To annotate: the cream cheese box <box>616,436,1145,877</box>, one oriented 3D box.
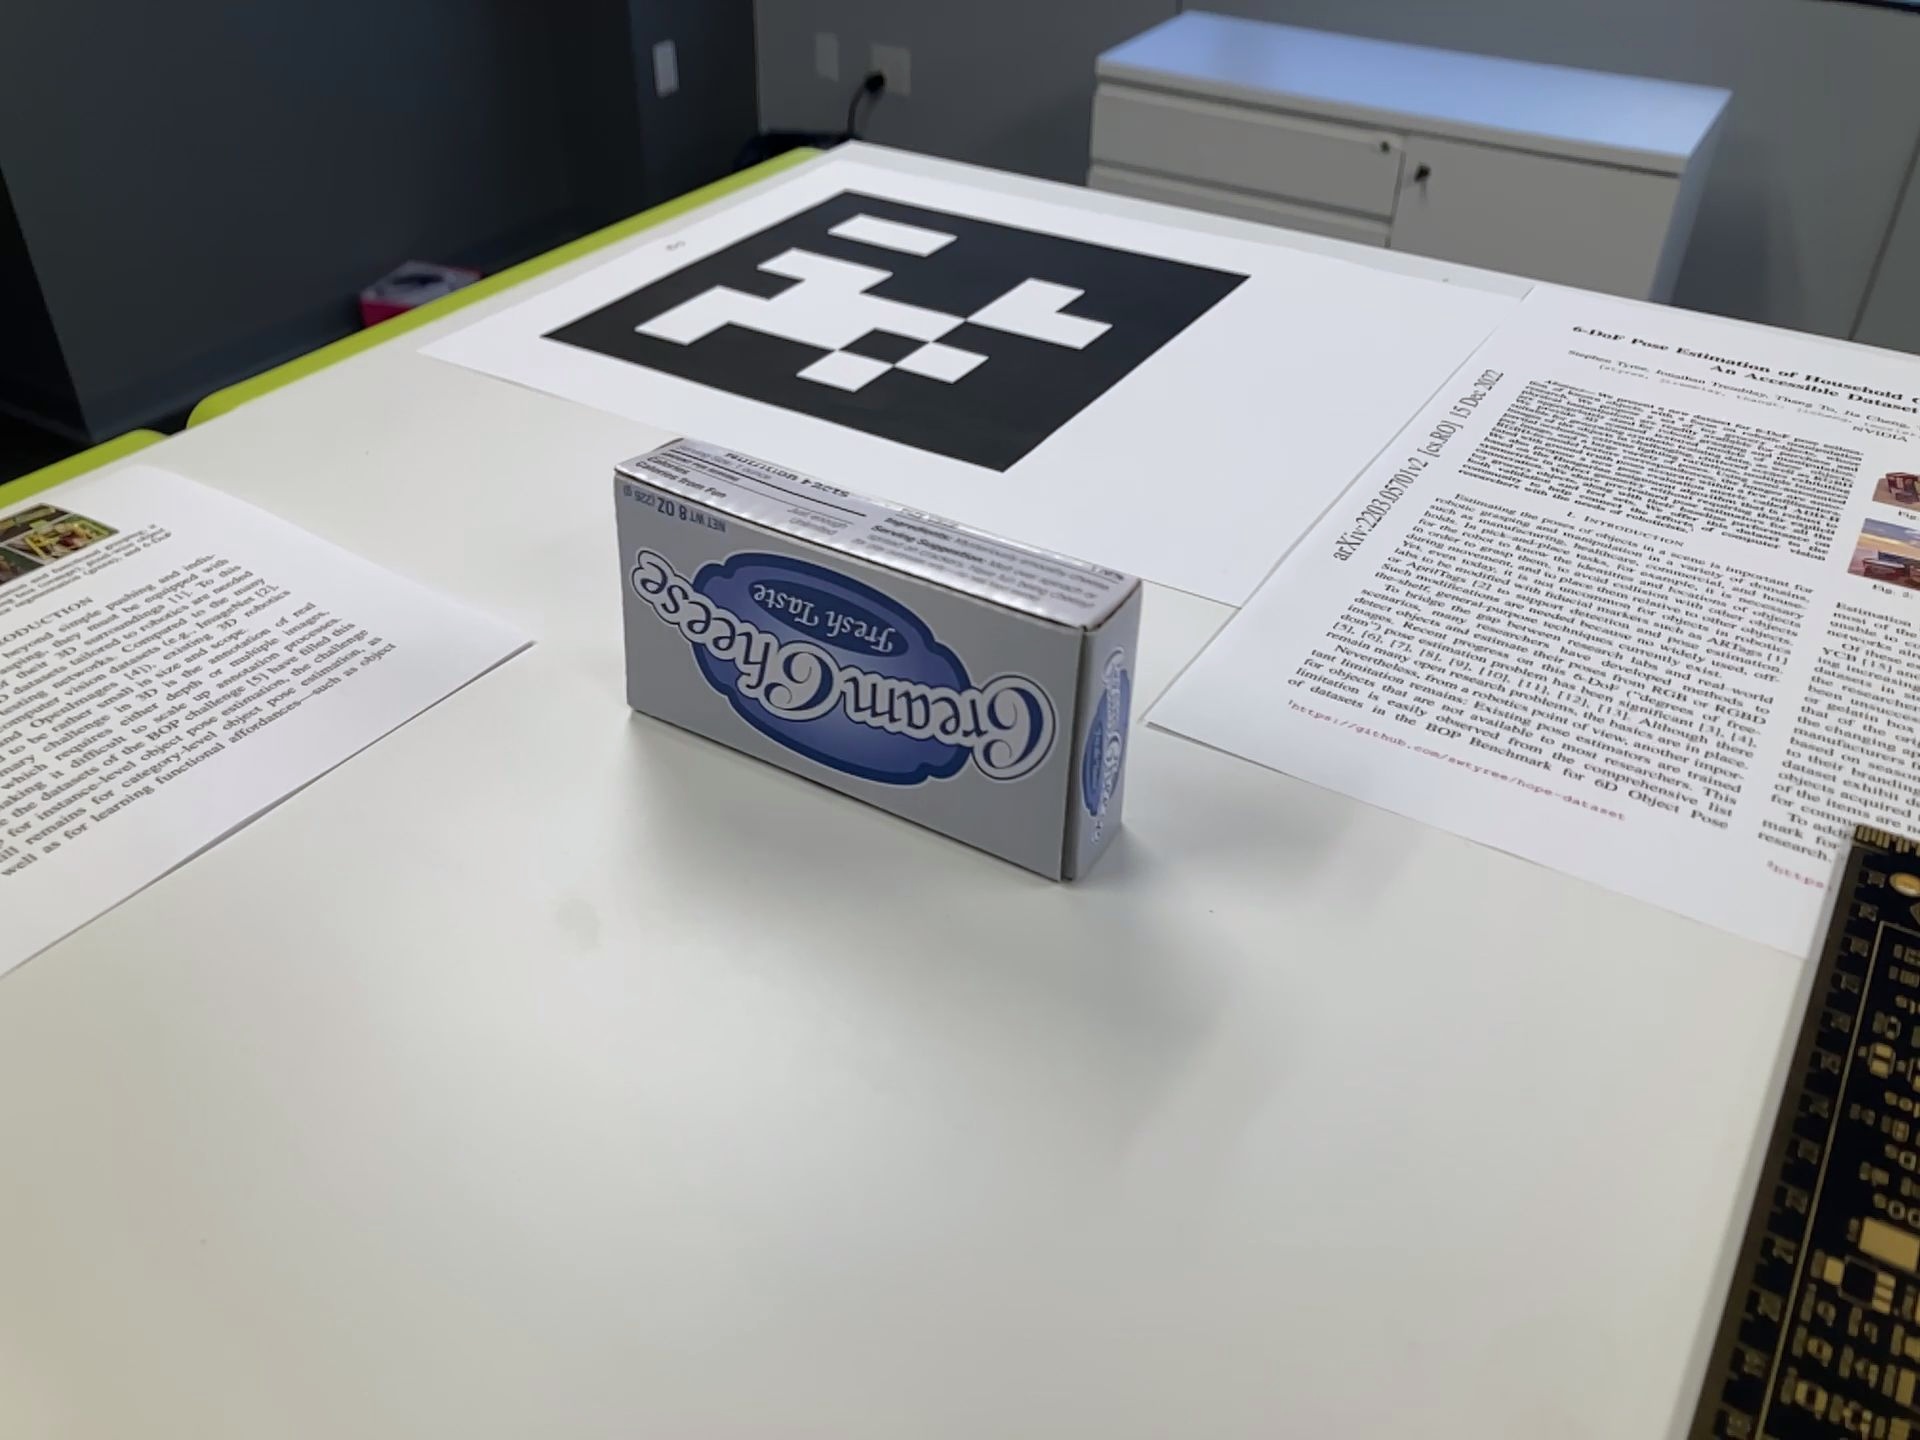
[{"bbox_3d":[-0.018,-0.014,0.295,0.104,0.053,0.024,20,38,24],"label":"cream cheese box"}]
